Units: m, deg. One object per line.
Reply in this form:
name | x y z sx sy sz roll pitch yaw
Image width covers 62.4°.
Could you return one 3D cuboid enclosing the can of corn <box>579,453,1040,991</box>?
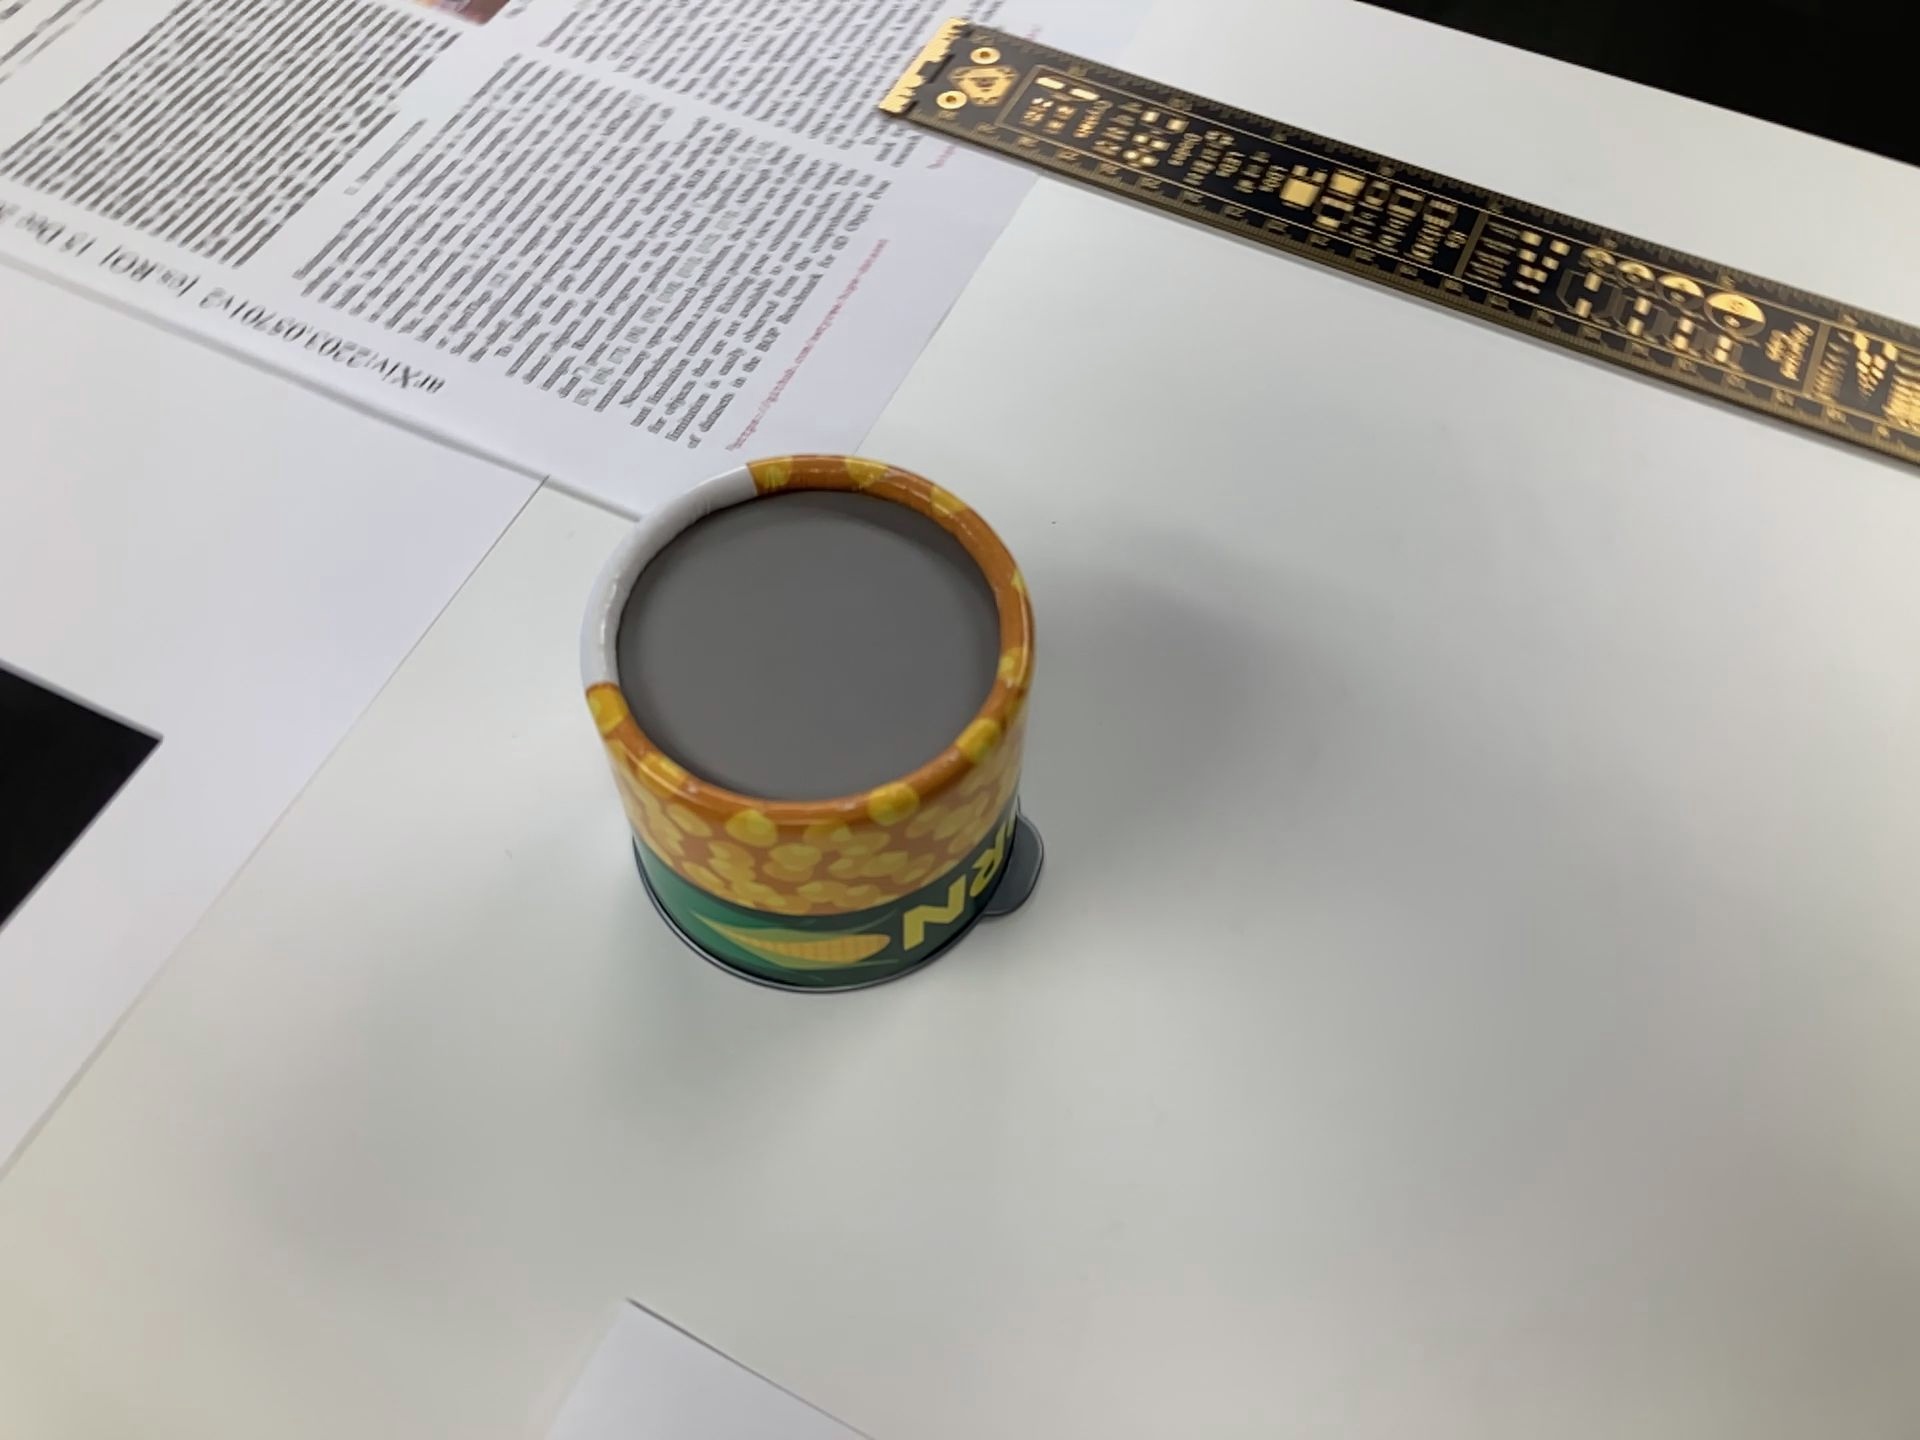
can of corn | -0.020 0.002 0.251 0.071 0.058 0.071 1 59 -1
